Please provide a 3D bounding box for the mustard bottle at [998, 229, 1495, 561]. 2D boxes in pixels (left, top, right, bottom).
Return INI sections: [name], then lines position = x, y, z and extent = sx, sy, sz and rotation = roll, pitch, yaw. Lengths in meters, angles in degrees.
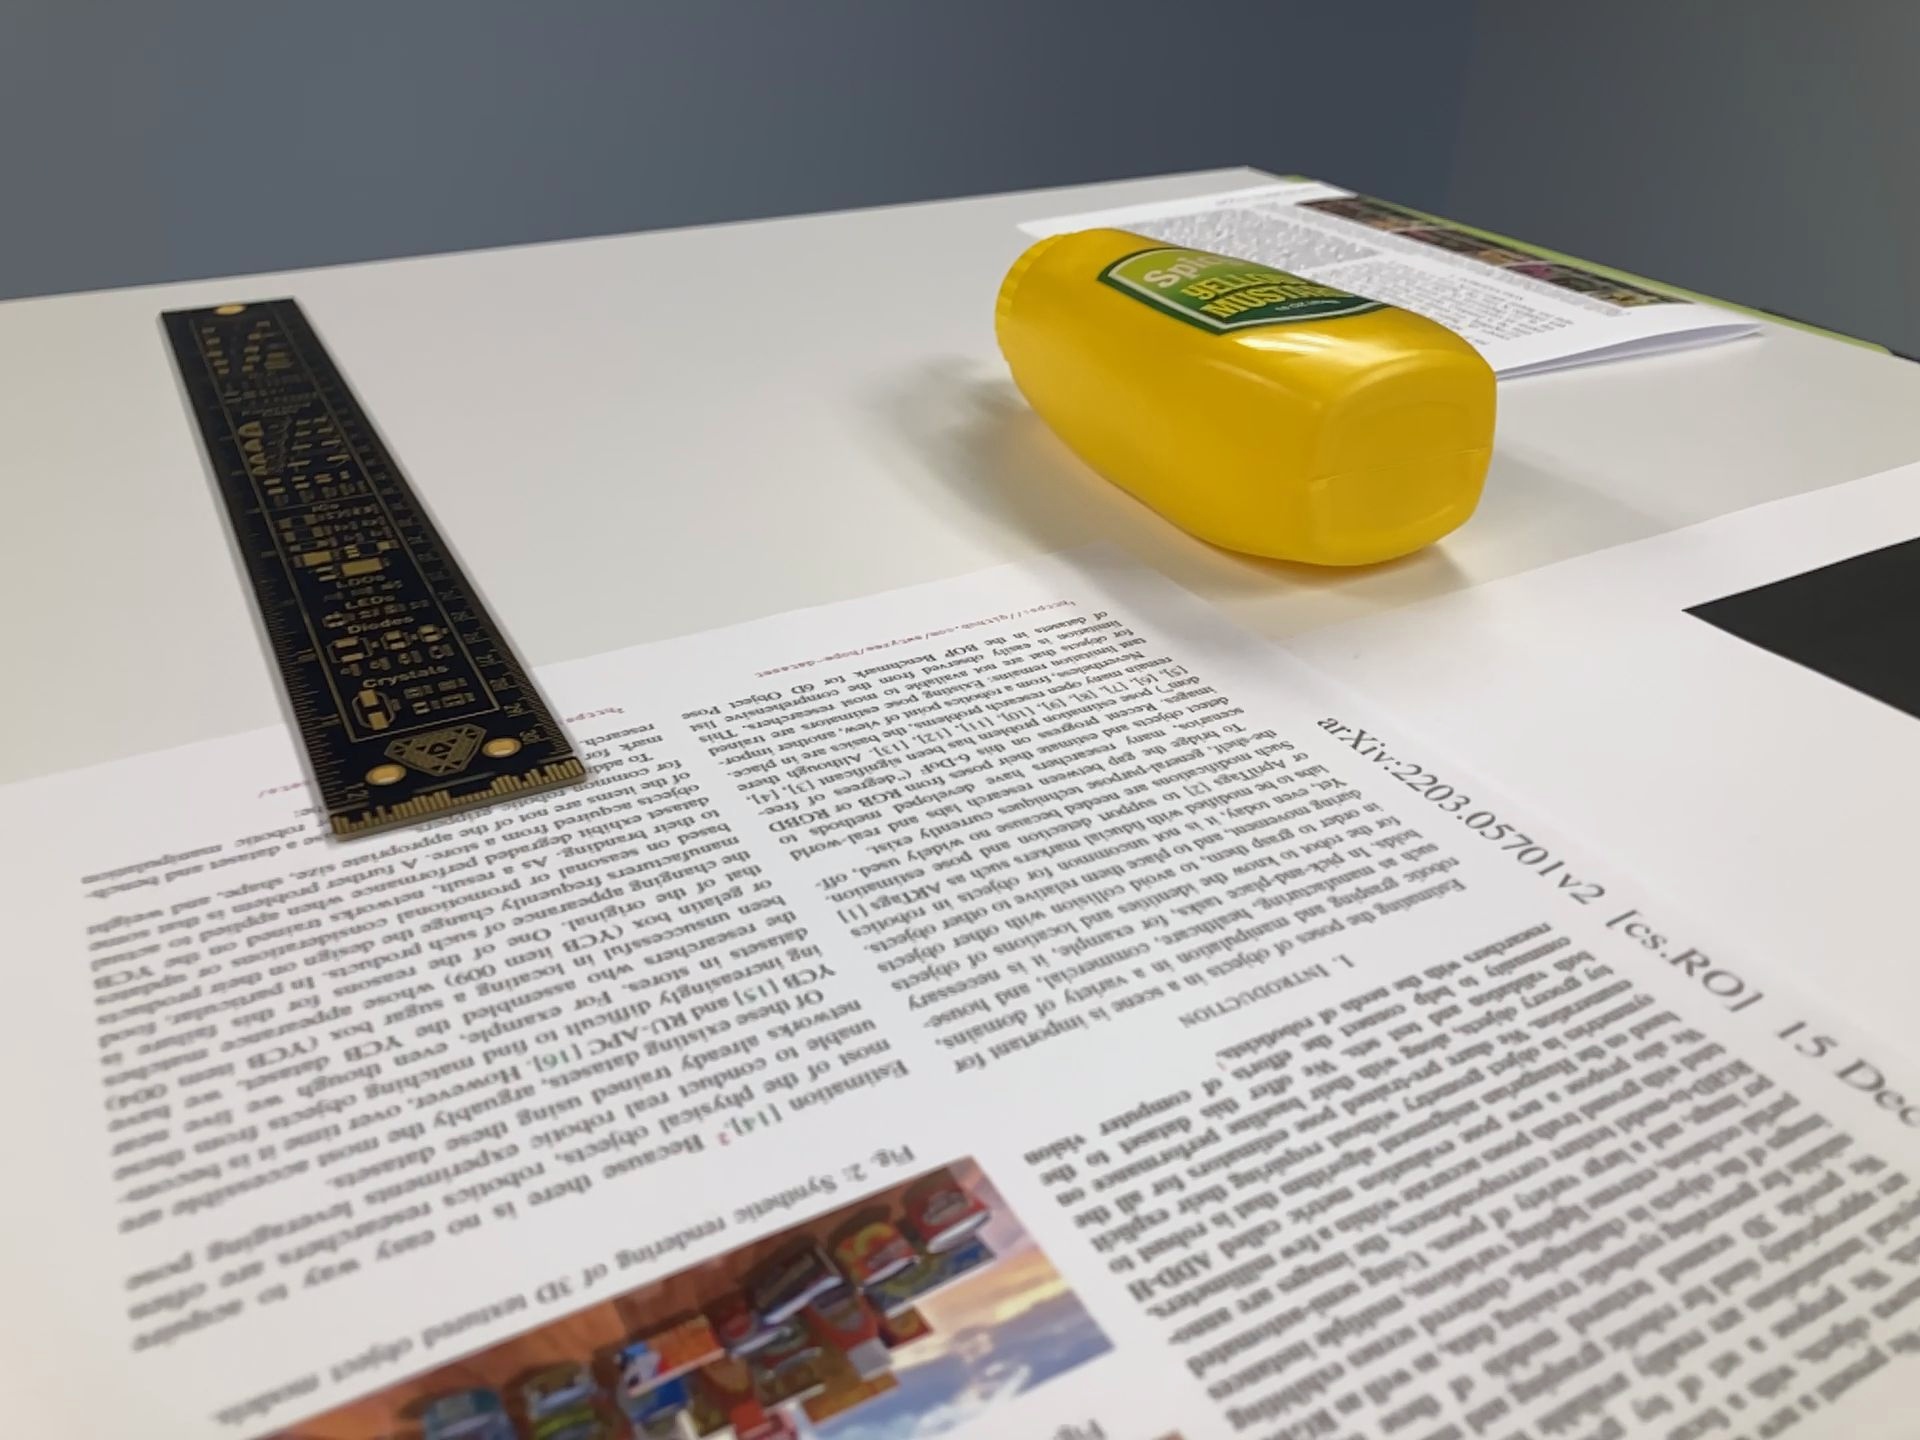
[mustard bottle]
position = 0.049, -0.085, 0.372
extent = 0.065, 0.049, 0.160
rotation = -14, 32, -26
